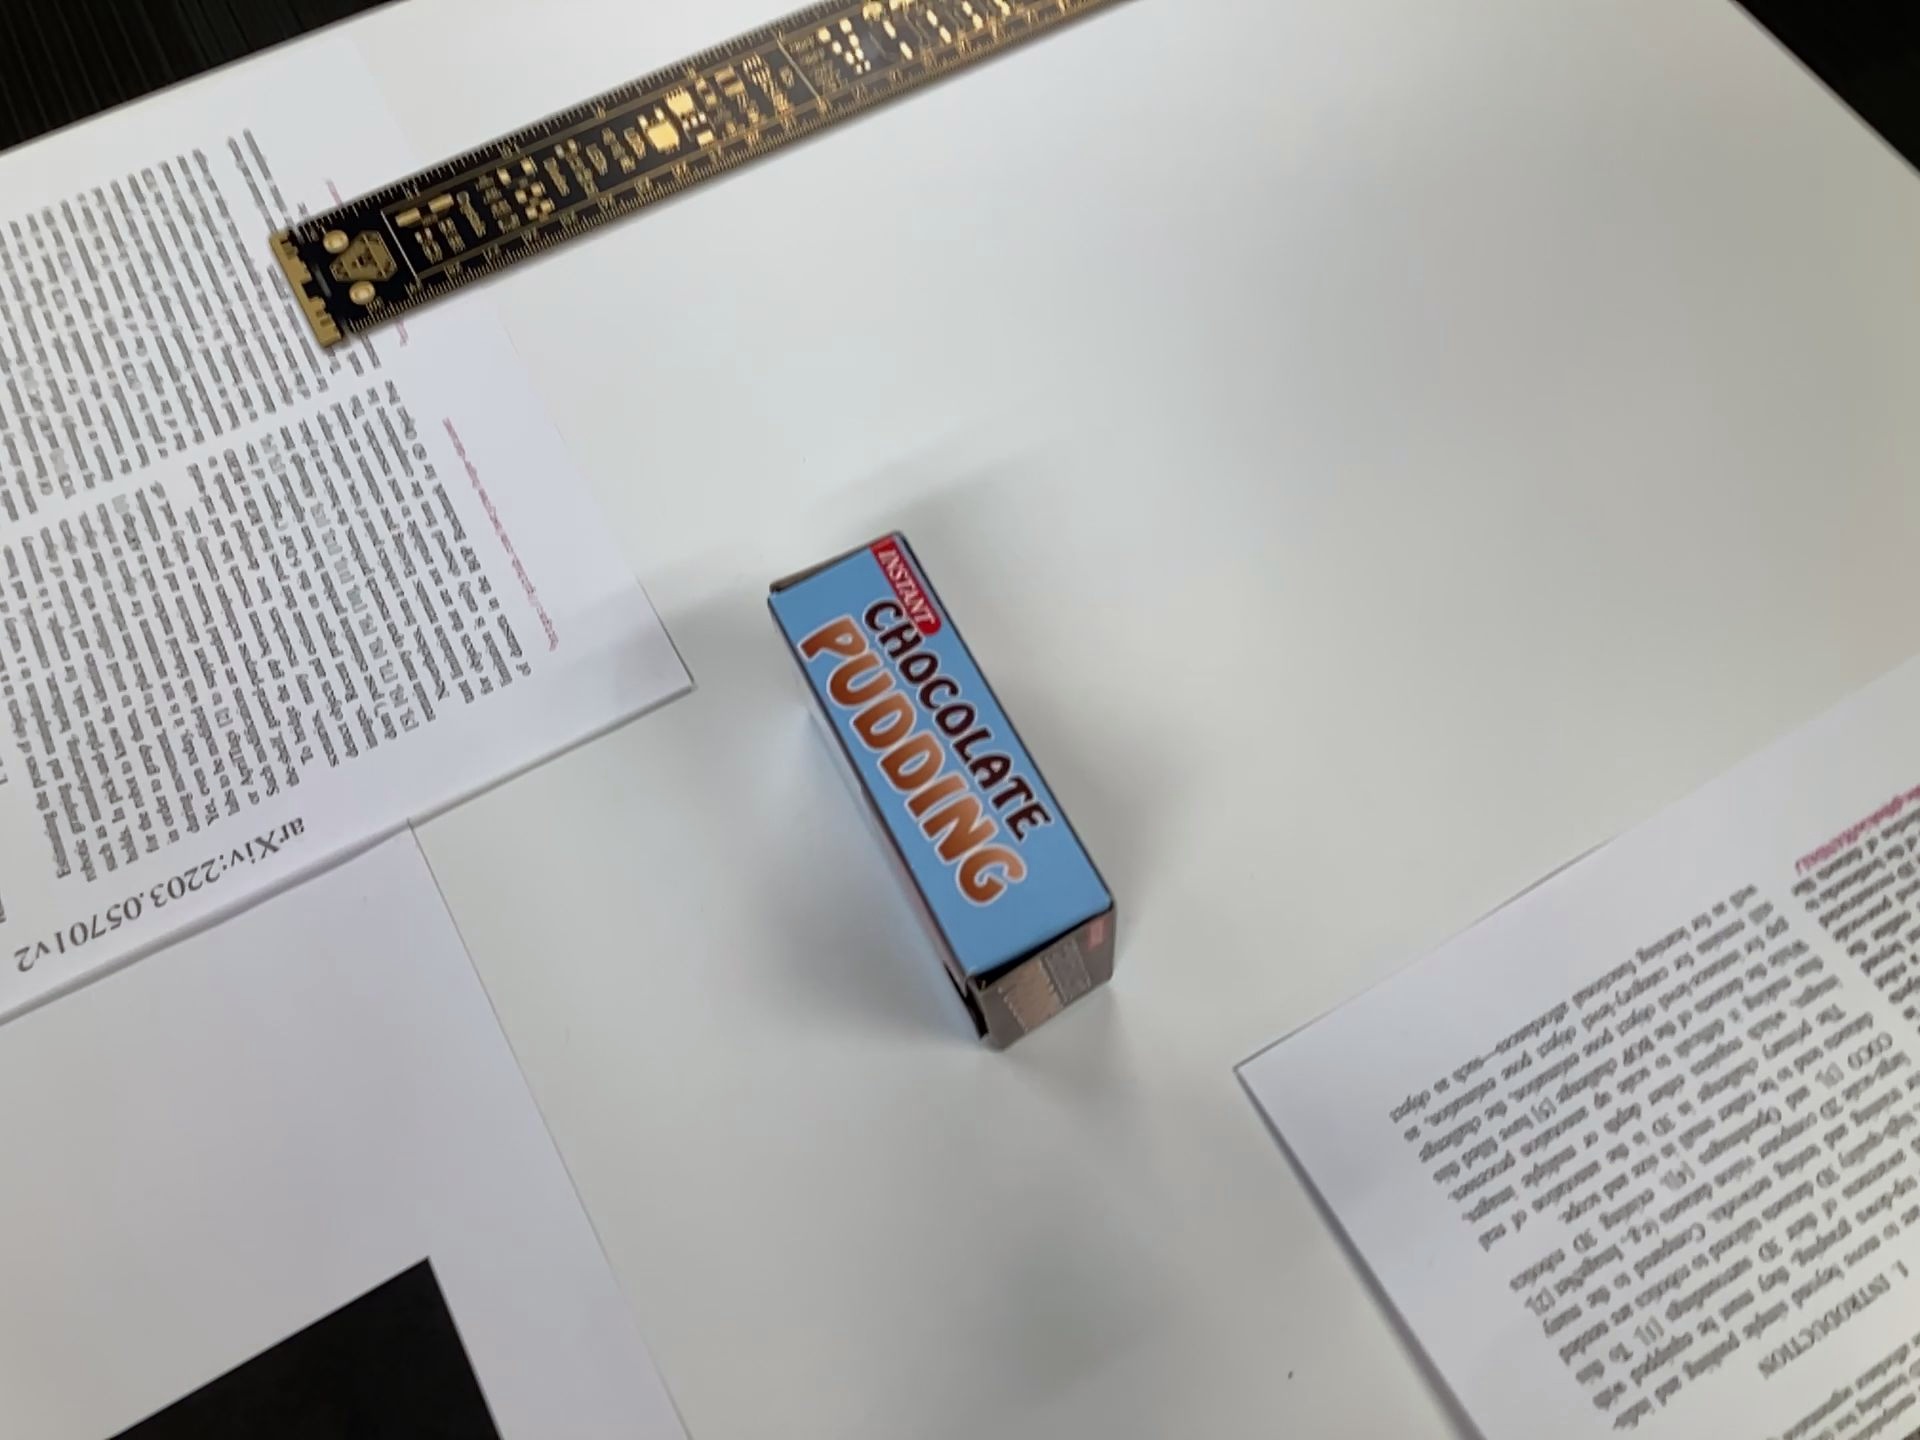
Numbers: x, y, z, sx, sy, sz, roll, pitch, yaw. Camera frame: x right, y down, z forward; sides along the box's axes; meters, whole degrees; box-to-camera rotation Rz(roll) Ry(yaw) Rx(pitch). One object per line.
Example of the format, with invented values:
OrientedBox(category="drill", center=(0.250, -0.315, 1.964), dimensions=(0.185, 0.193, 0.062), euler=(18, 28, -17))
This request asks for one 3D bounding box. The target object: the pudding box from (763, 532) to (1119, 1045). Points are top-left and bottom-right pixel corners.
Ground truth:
OrientedBox(category="pudding box", center=(-0.003, 0.013, 0.295), dimensions=(0.030, 0.049, 0.083), euler=(-27, 67, -8))
